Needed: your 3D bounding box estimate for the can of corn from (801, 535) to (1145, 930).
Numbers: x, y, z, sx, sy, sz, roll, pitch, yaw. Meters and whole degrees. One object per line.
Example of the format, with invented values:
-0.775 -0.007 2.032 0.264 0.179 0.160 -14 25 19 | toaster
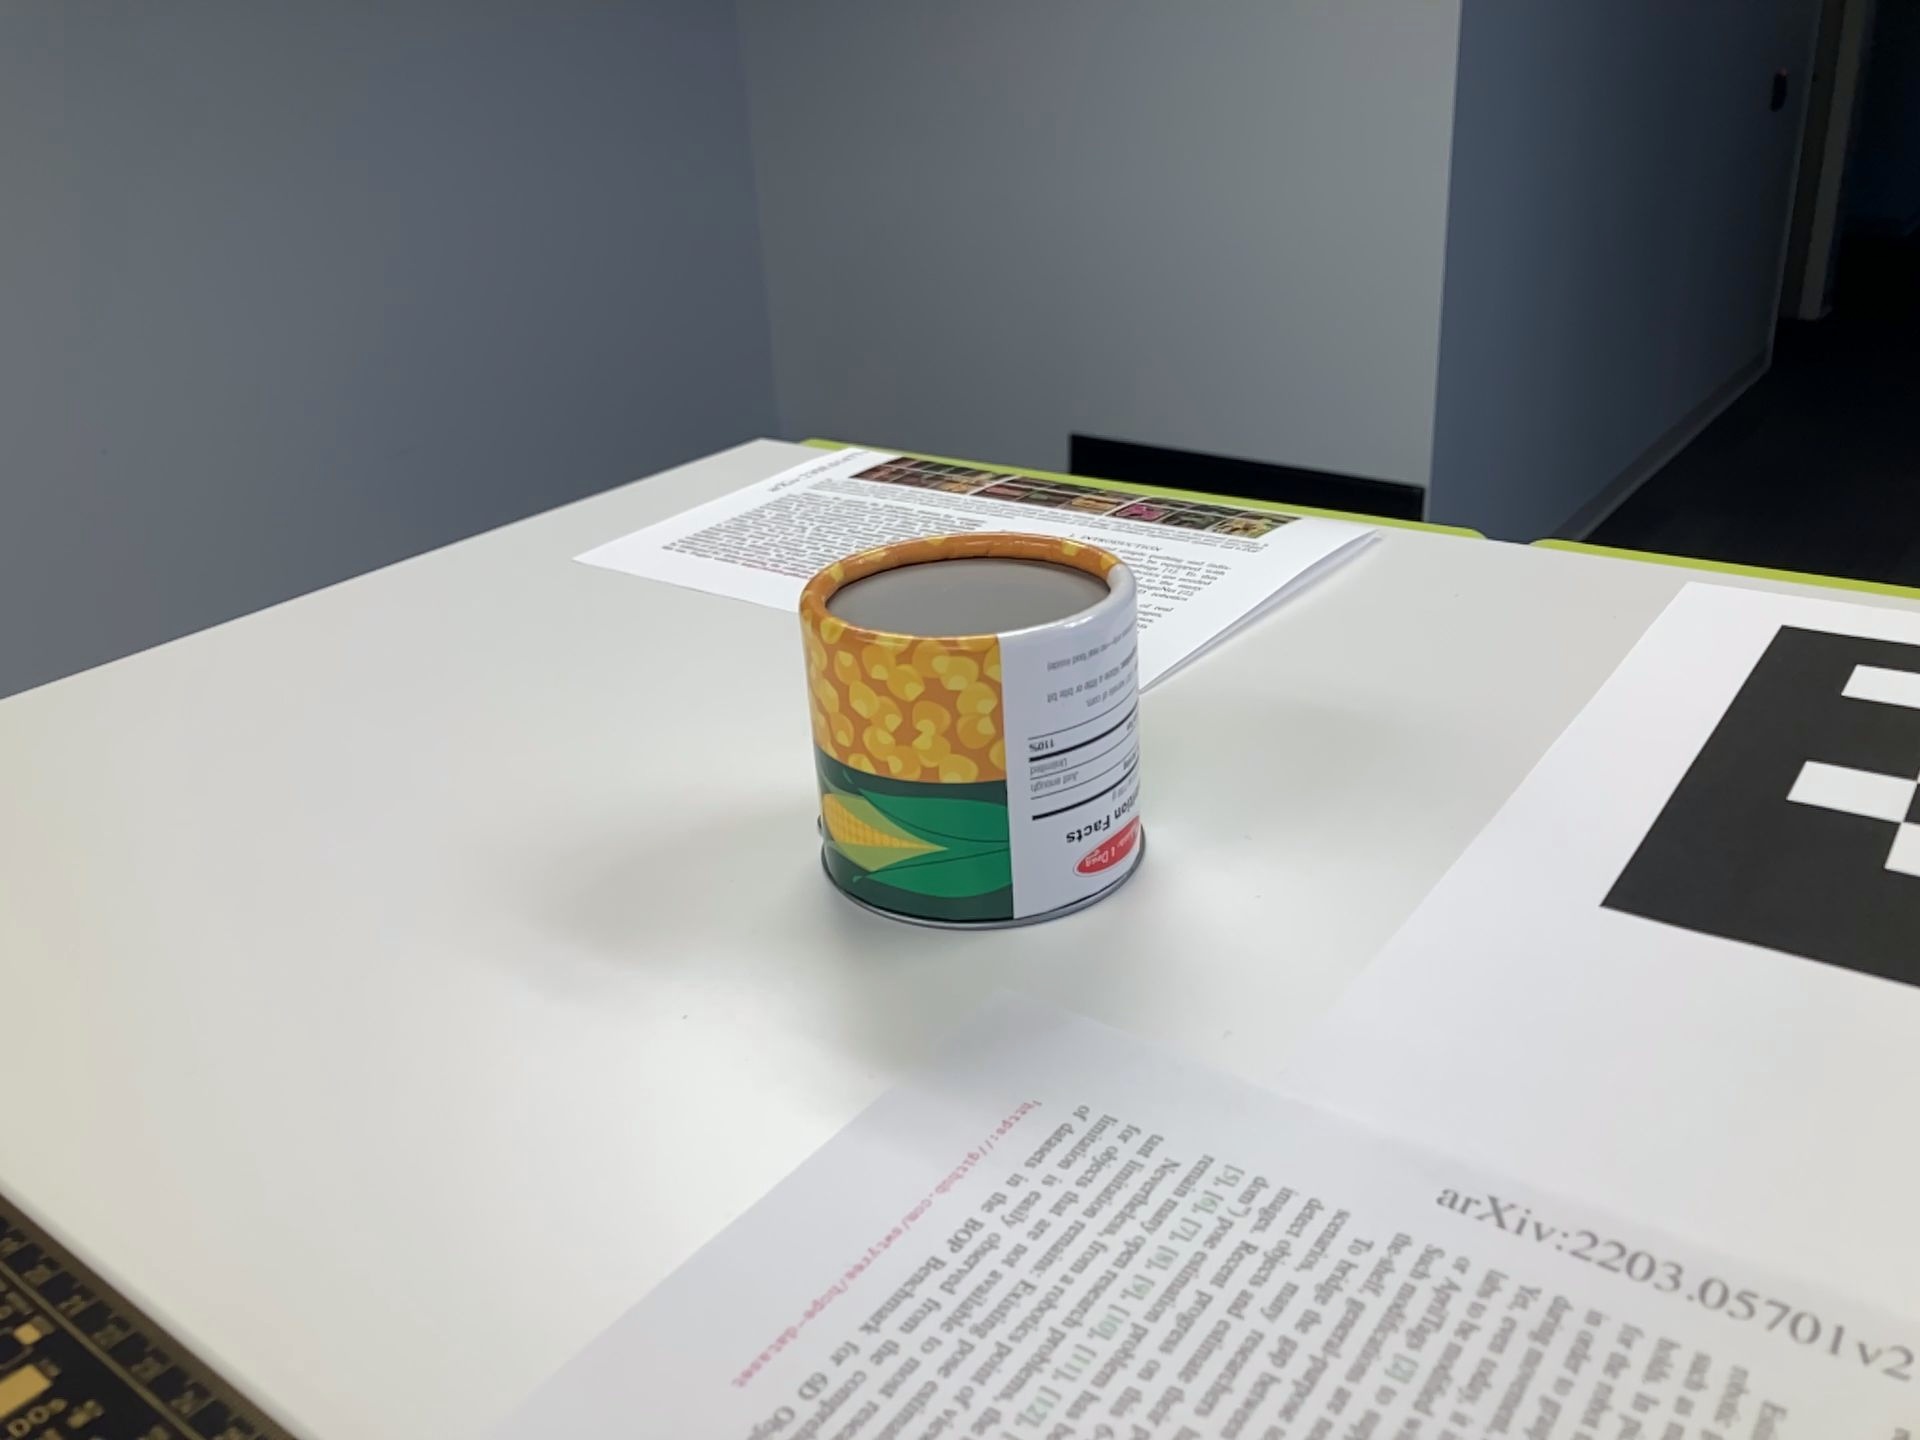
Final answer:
0.001 -0.001 0.318 0.071 0.058 0.071 -3 24 1 | can of corn
